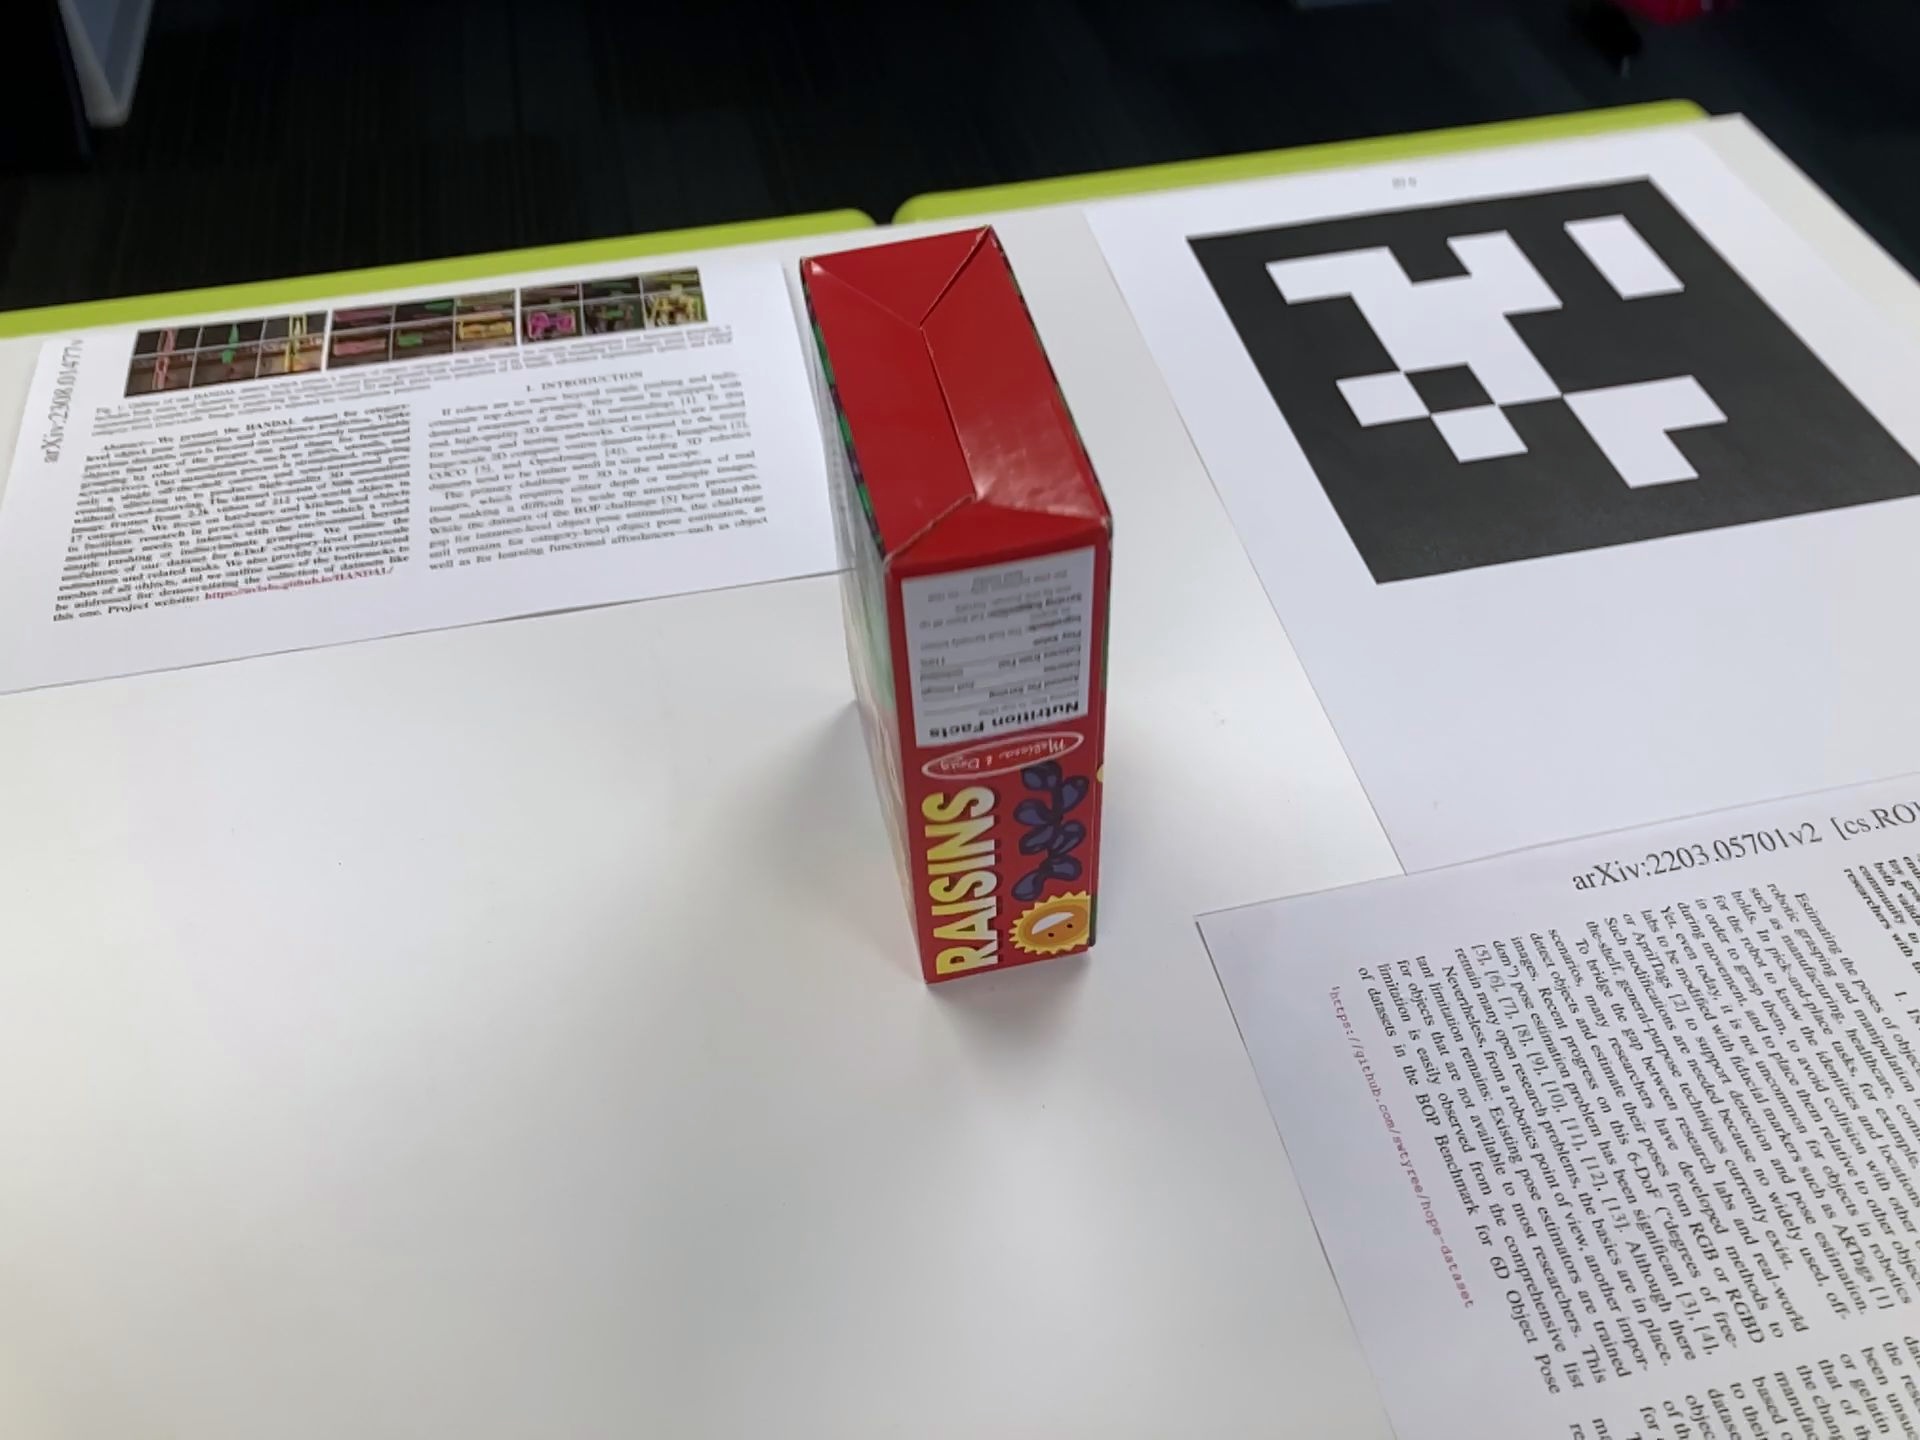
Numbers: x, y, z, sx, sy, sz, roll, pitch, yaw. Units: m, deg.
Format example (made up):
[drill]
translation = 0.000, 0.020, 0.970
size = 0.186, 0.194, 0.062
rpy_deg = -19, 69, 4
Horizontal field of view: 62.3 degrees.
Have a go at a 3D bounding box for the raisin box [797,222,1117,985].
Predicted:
[raisin box]
translation = 0.000, -0.018, 0.310
size = 0.040, 0.123, 0.086
rpy_deg = -12, 50, -7
